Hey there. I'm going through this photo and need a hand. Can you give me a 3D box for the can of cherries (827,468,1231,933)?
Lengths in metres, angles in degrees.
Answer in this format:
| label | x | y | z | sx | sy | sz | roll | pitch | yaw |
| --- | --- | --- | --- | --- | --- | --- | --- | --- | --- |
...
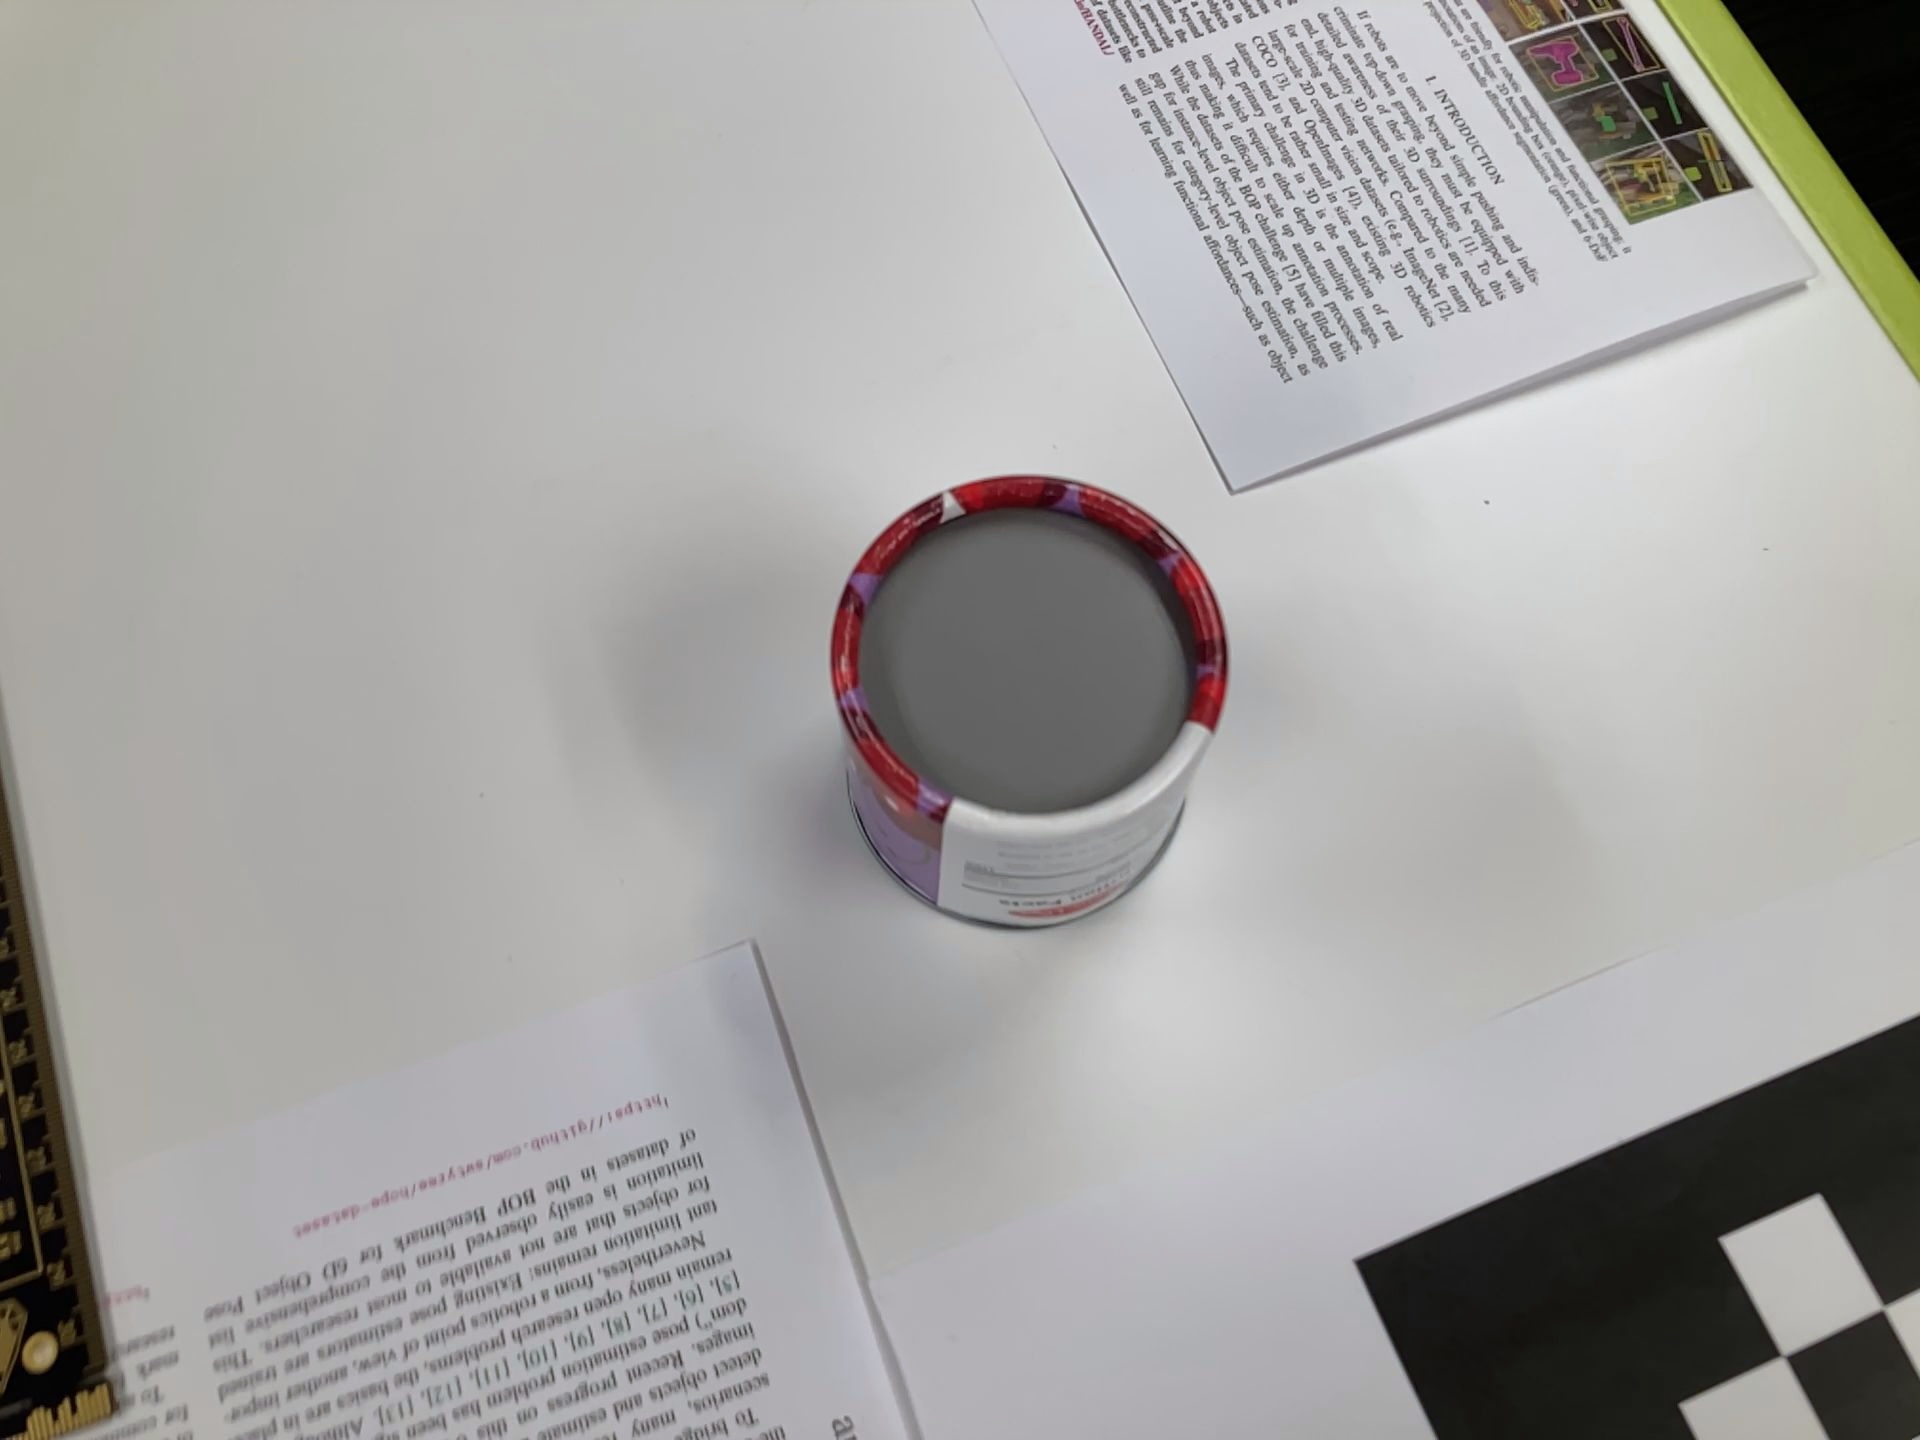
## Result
| label | x | y | z | sx | sy | sz | roll | pitch | yaw |
| --- | --- | --- | --- | --- | --- | --- | --- | --- | --- |
| can of cherries | 0.010 | -0.004 | 0.280 | 0.071 | 0.058 | 0.071 | 0 | 68 | 1 |
